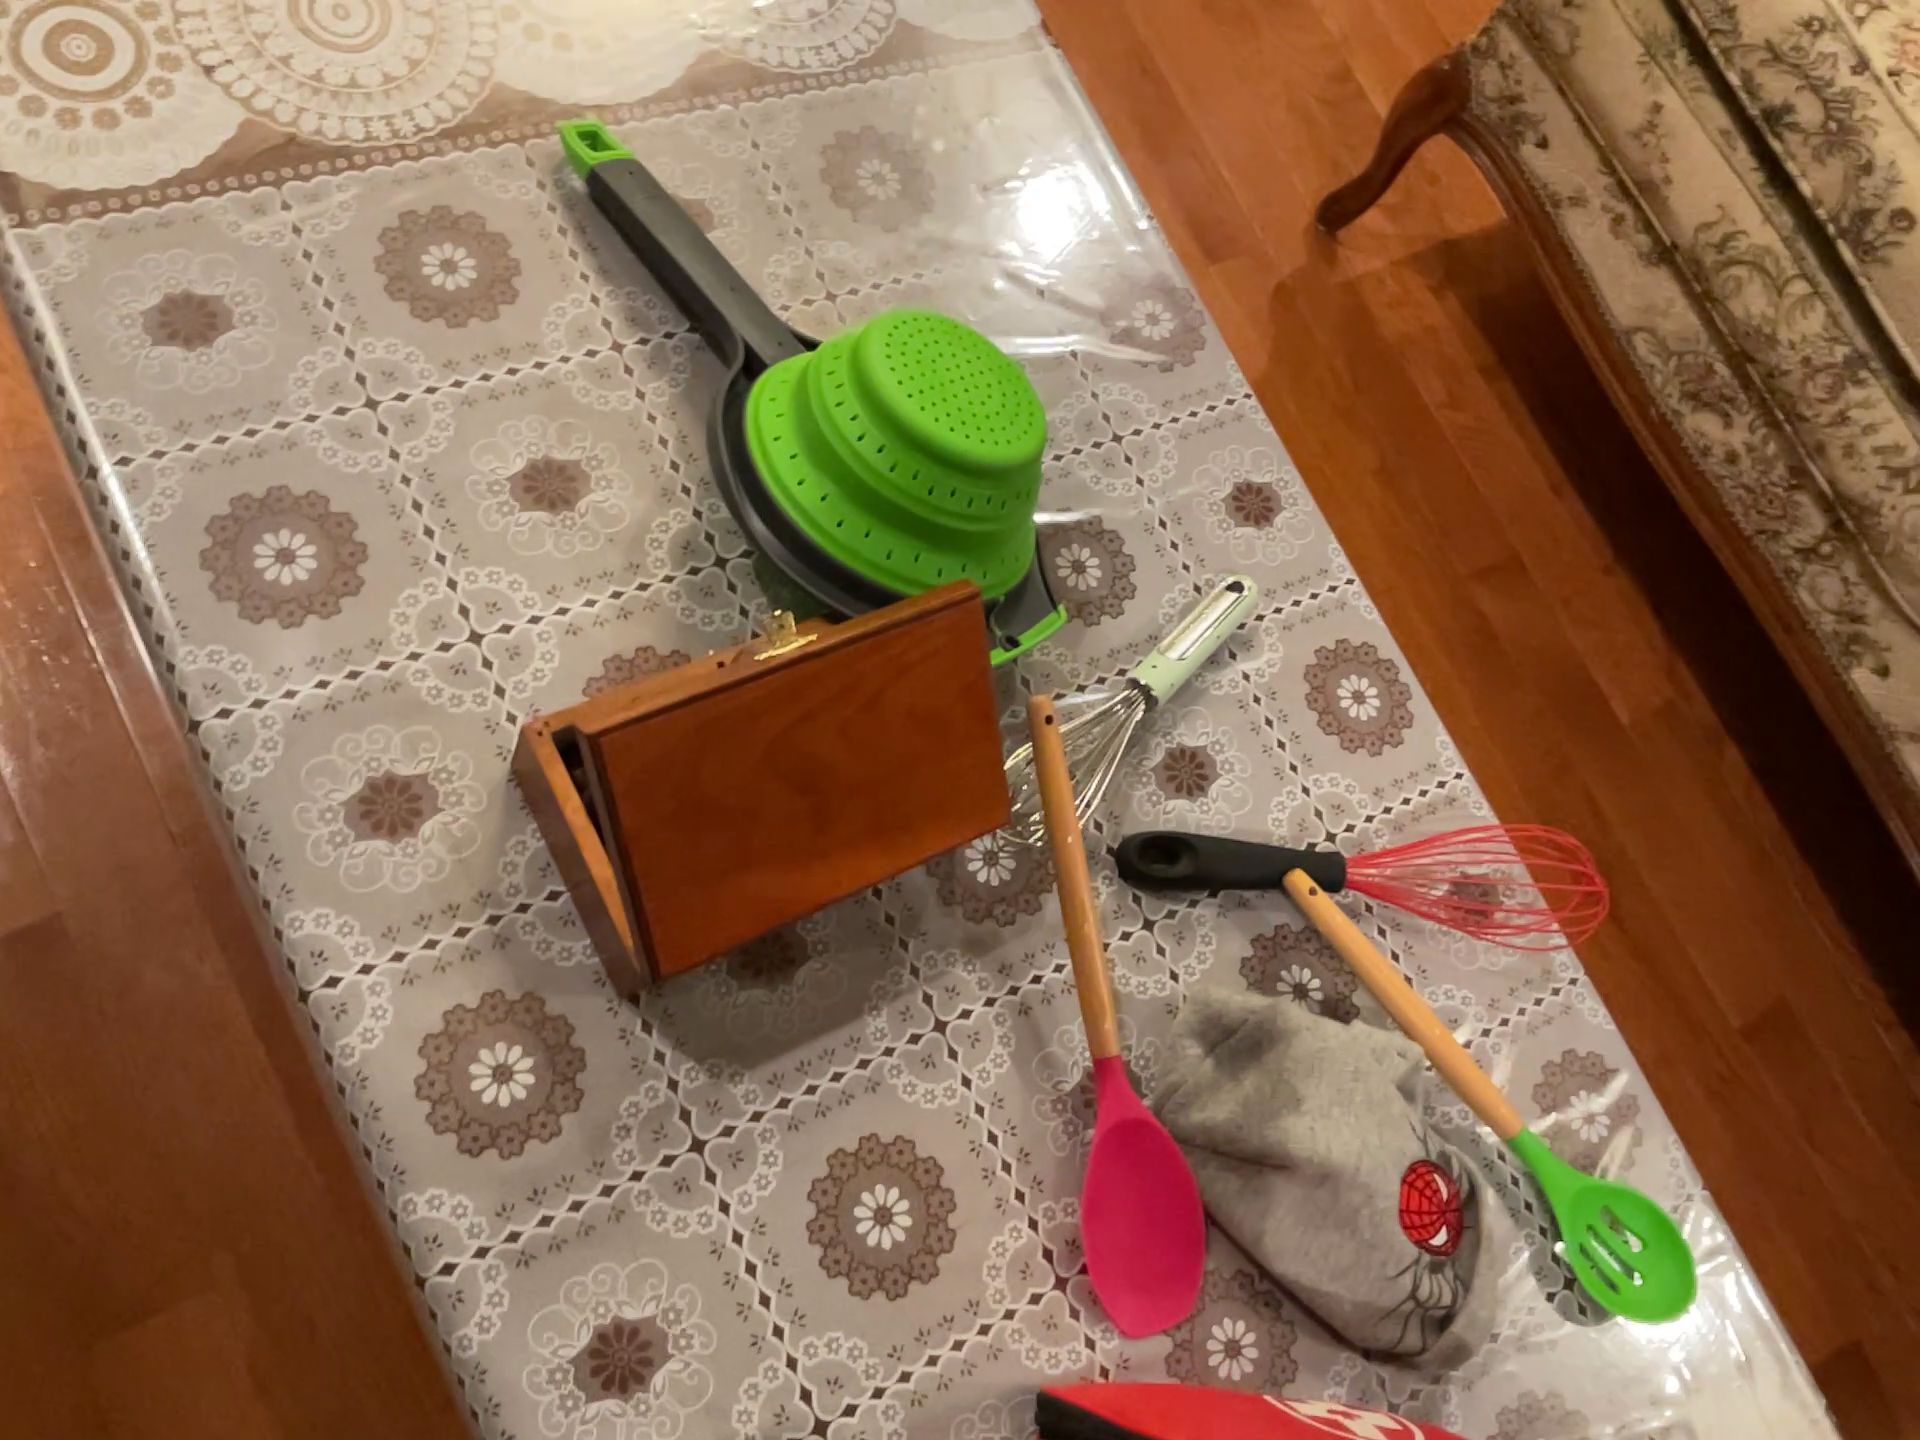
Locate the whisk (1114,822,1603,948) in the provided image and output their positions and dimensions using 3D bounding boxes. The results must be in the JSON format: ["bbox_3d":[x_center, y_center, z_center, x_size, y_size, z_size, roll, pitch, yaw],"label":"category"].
[{"bbox_3d":[0.228,0.087,0.888,0.295,0.073,0.073,5,75,-12],"label":"whisk"}]

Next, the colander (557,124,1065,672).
[{"bbox_3d":[-0.075,-0.204,0.839,0.397,0.094,0.204,50,42,11],"label":"colander"}]

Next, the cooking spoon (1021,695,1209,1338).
[{"bbox_3d":[0.069,0.144,0.794,0.068,0.017,0.319,-9,84,-25],"label":"cooking spoon"}]

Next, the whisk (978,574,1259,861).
[{"bbox_3d":[0.094,-0.008,0.884,0.246,0.059,0.057,-43,131,-30],"label":"whisk"}]

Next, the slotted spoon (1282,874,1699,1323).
[{"bbox_3d":[0.283,0.202,0.865,0.314,0.031,0.070,48,62,-1],"label":"slotted spoon"}]
